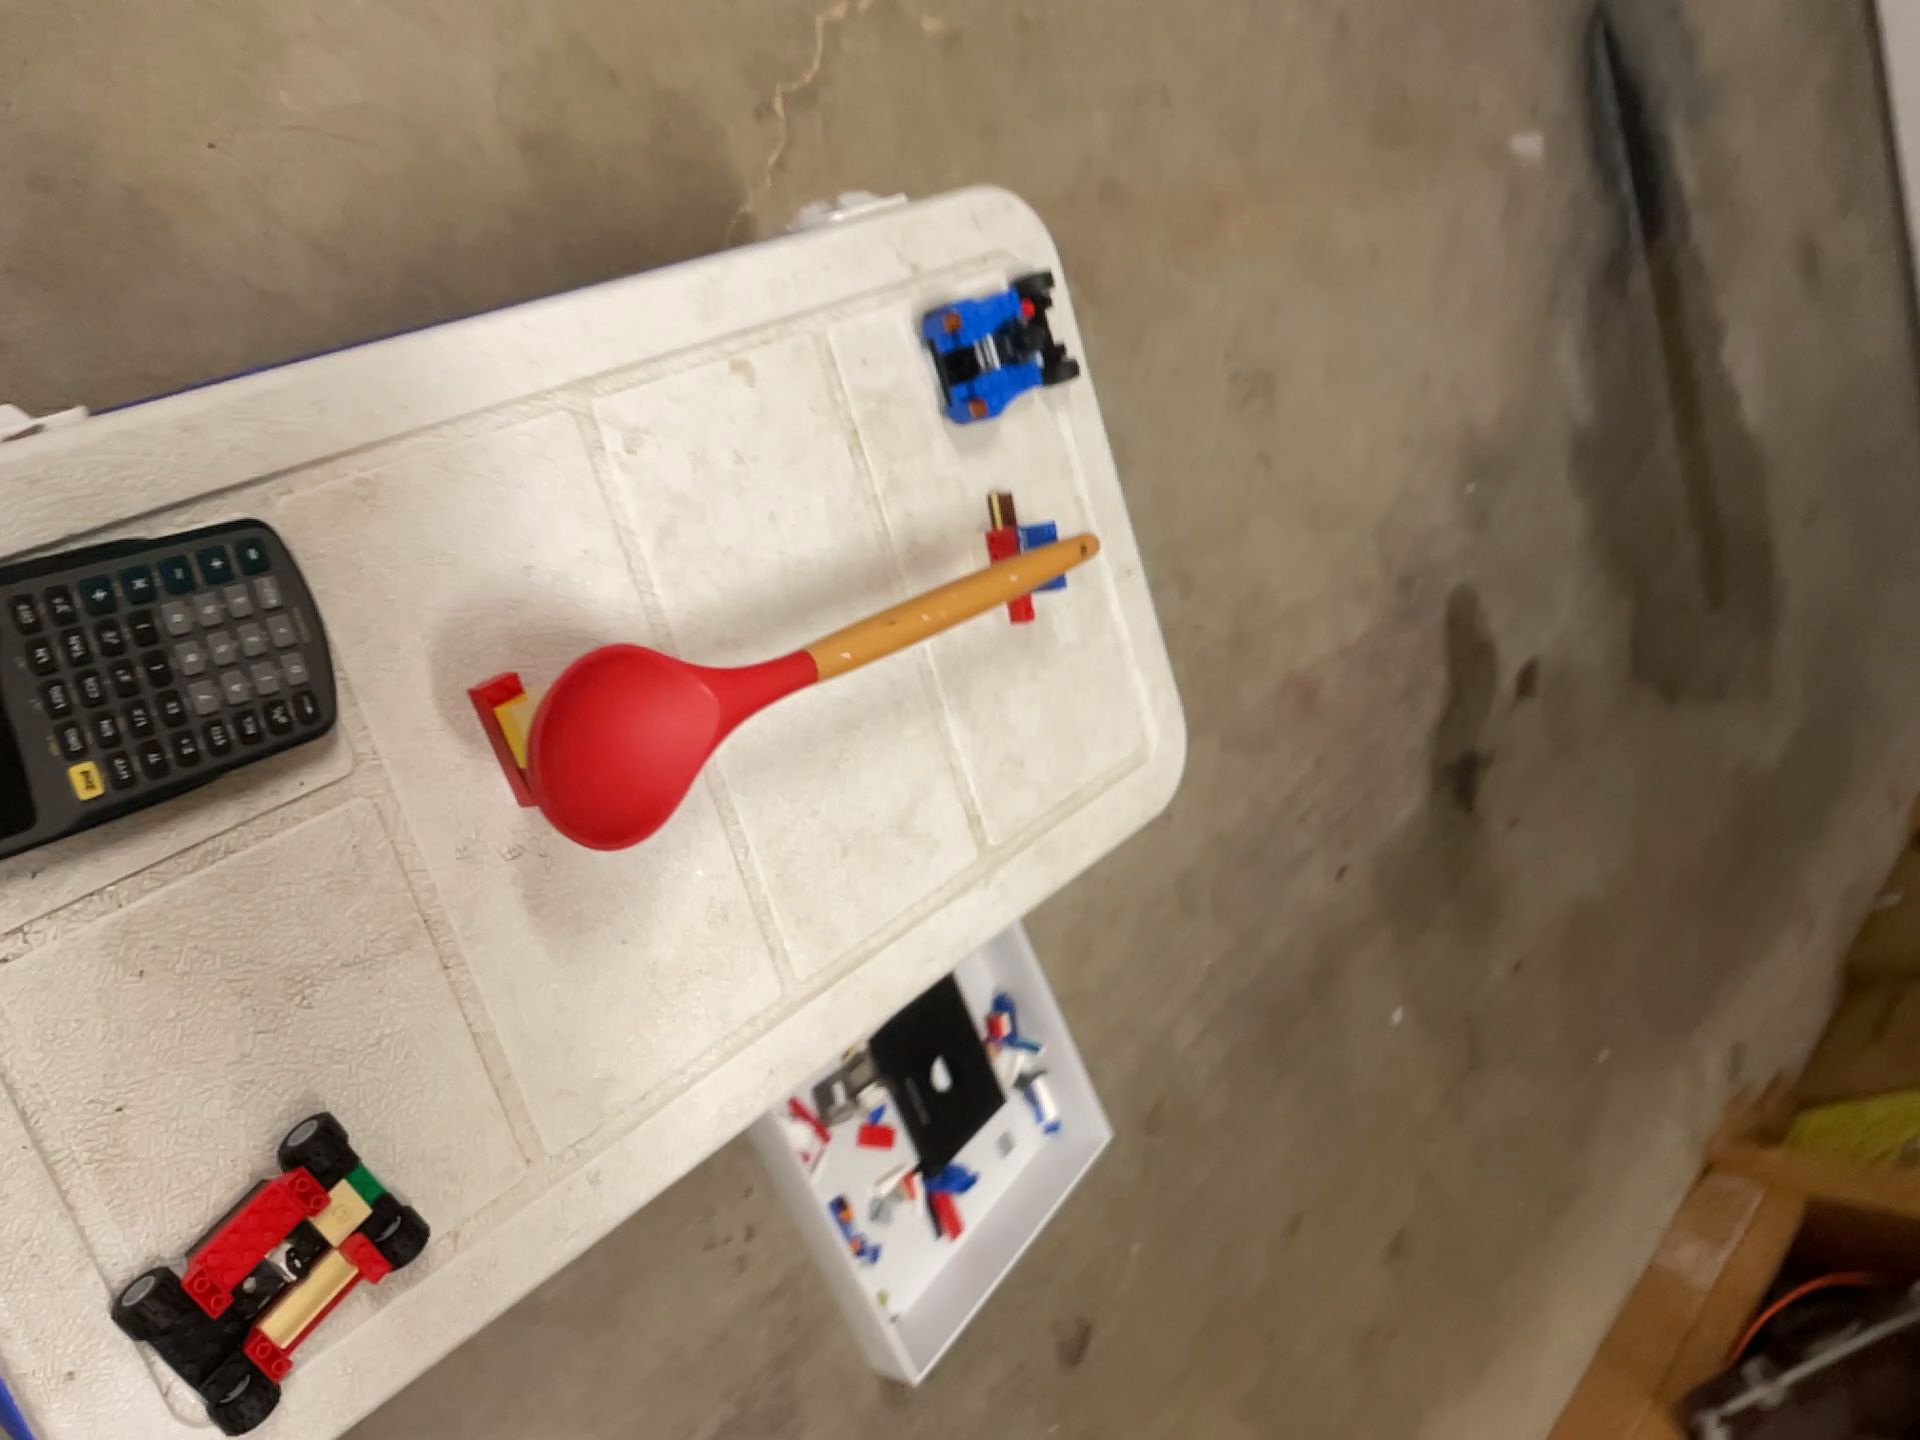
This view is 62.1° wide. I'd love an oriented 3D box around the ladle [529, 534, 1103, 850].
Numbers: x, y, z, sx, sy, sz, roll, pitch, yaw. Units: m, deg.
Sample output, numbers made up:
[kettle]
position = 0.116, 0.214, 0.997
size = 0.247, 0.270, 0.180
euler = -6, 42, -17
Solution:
[ladle]
position = -0.041, -0.030, 0.629
size = 0.315, 0.031, 0.069
euler = -27, 112, -43
